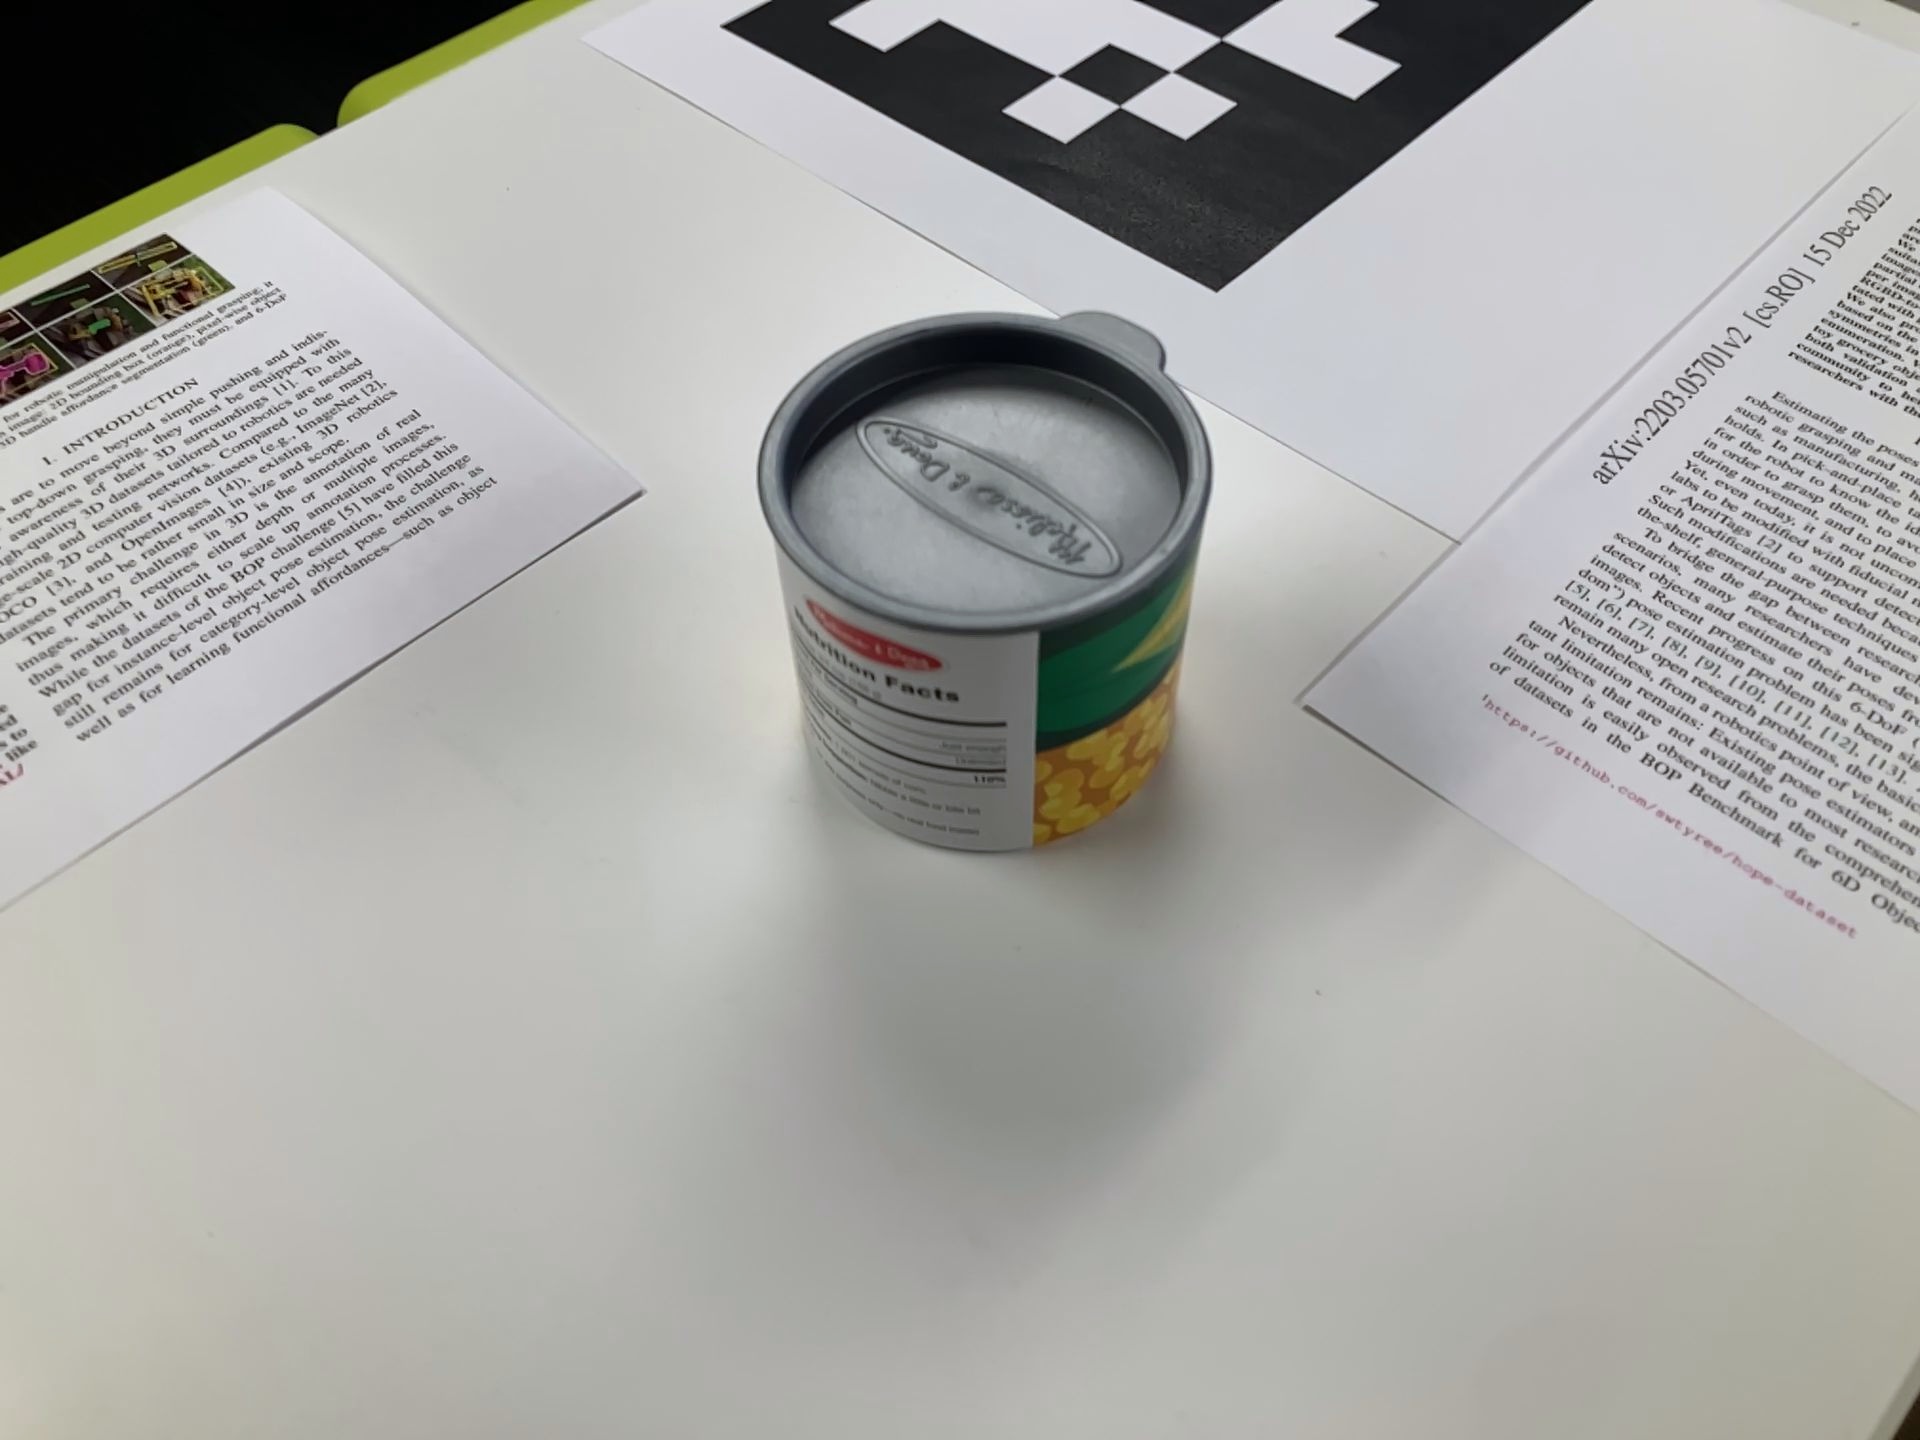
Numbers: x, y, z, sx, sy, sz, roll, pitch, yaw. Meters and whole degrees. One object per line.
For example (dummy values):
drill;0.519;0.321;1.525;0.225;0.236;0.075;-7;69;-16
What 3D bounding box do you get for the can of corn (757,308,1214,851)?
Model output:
can of corn;0.006;-0.023;0.254;0.071;0.058;0.071;-1;53;1
